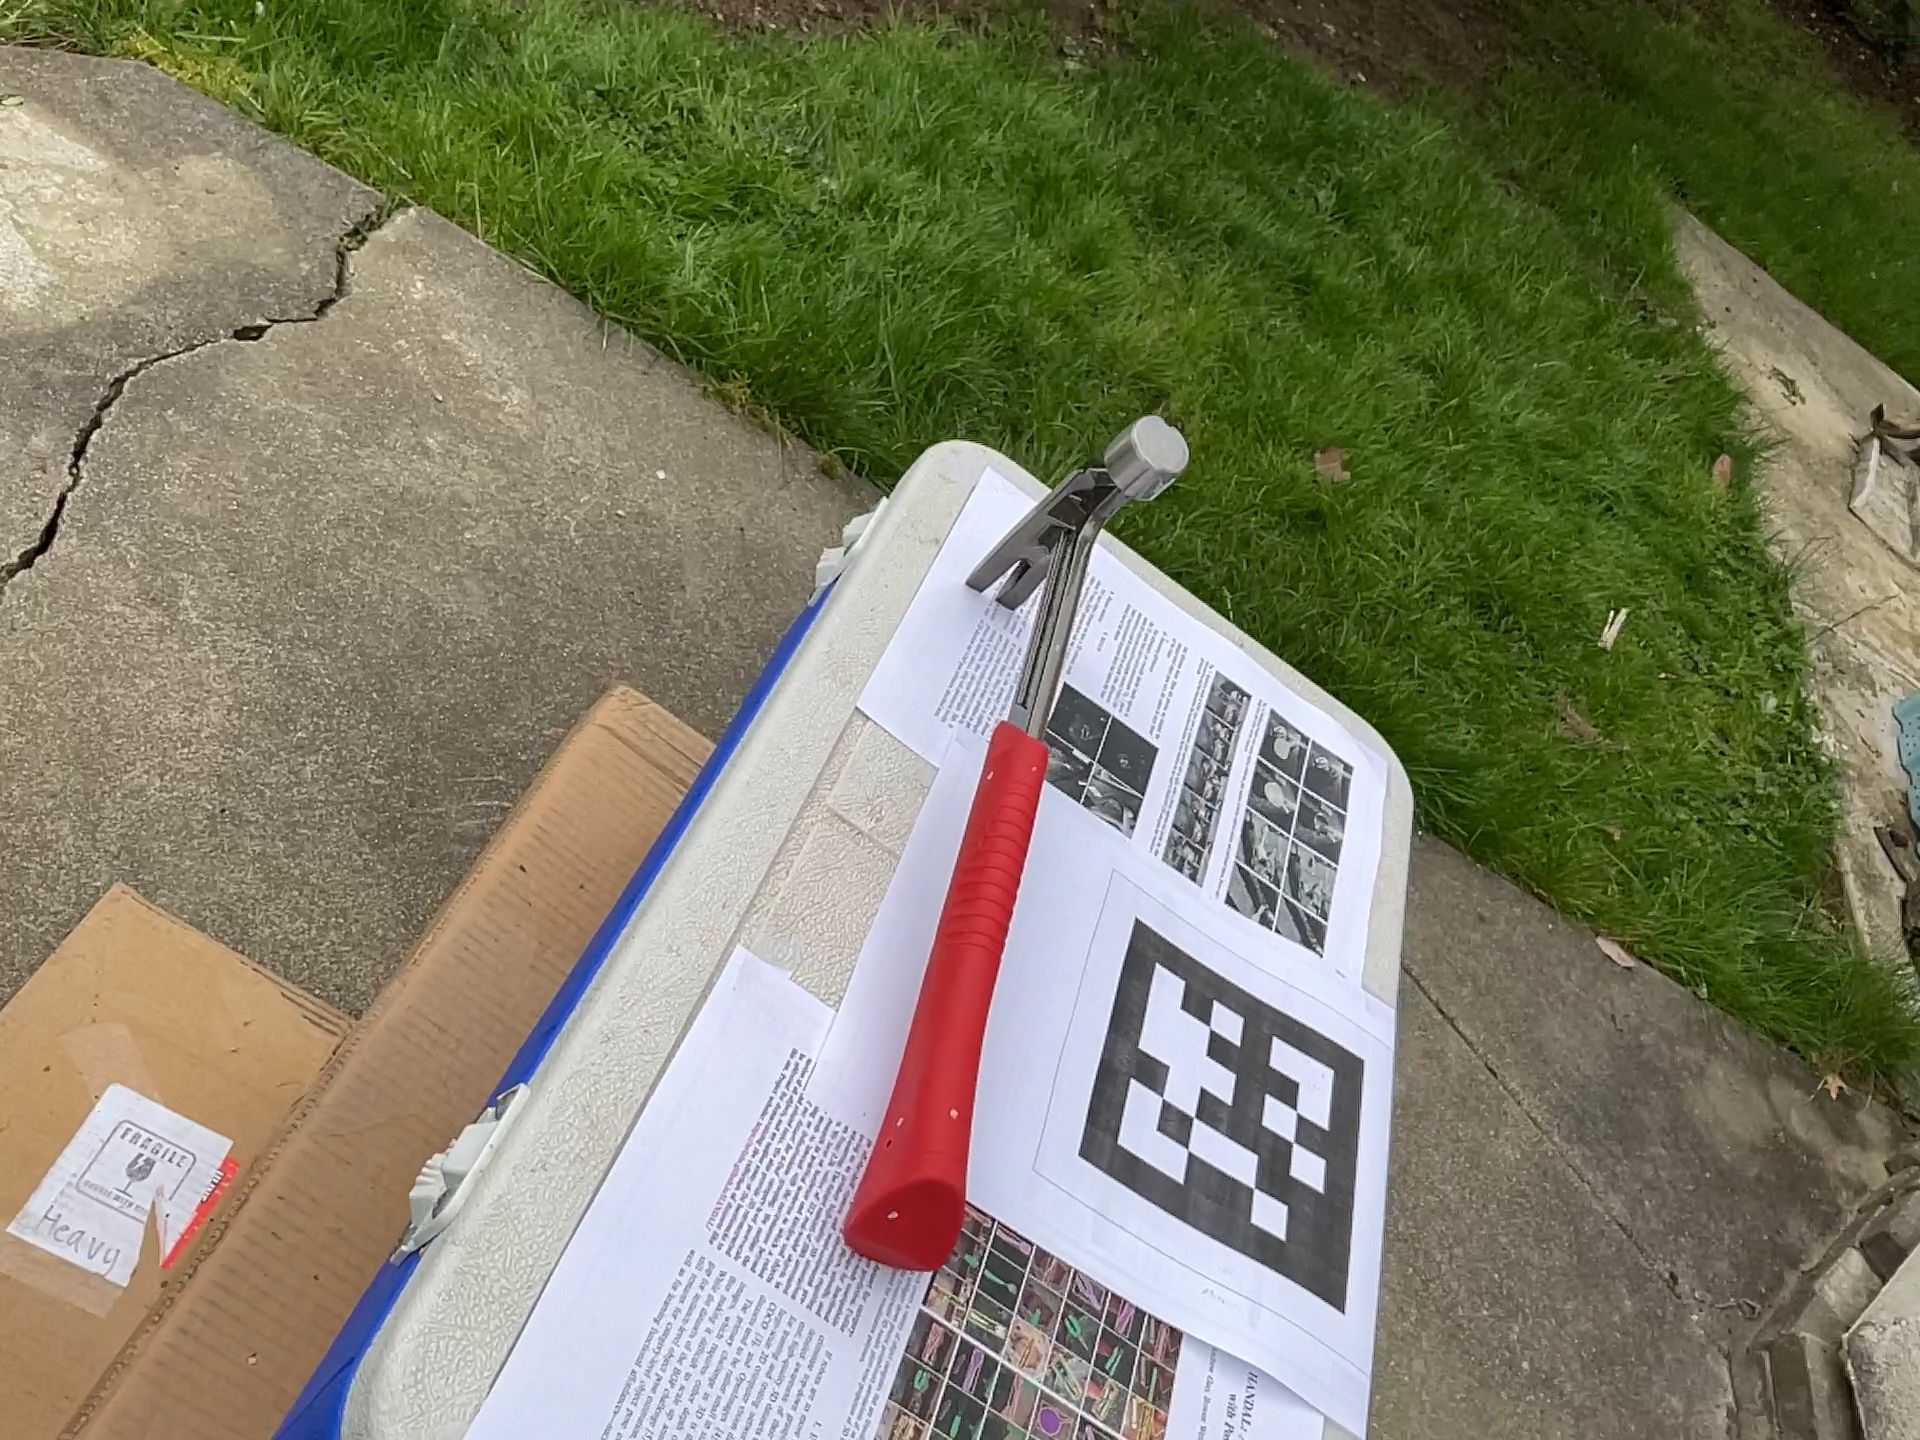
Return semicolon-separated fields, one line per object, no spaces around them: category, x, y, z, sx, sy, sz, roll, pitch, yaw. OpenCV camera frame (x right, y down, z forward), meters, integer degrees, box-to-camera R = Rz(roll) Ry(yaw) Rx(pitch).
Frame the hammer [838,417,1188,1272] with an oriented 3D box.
hammer;0.012;0.040;0.641;0.036;0.149;0.359;29;53;-17
